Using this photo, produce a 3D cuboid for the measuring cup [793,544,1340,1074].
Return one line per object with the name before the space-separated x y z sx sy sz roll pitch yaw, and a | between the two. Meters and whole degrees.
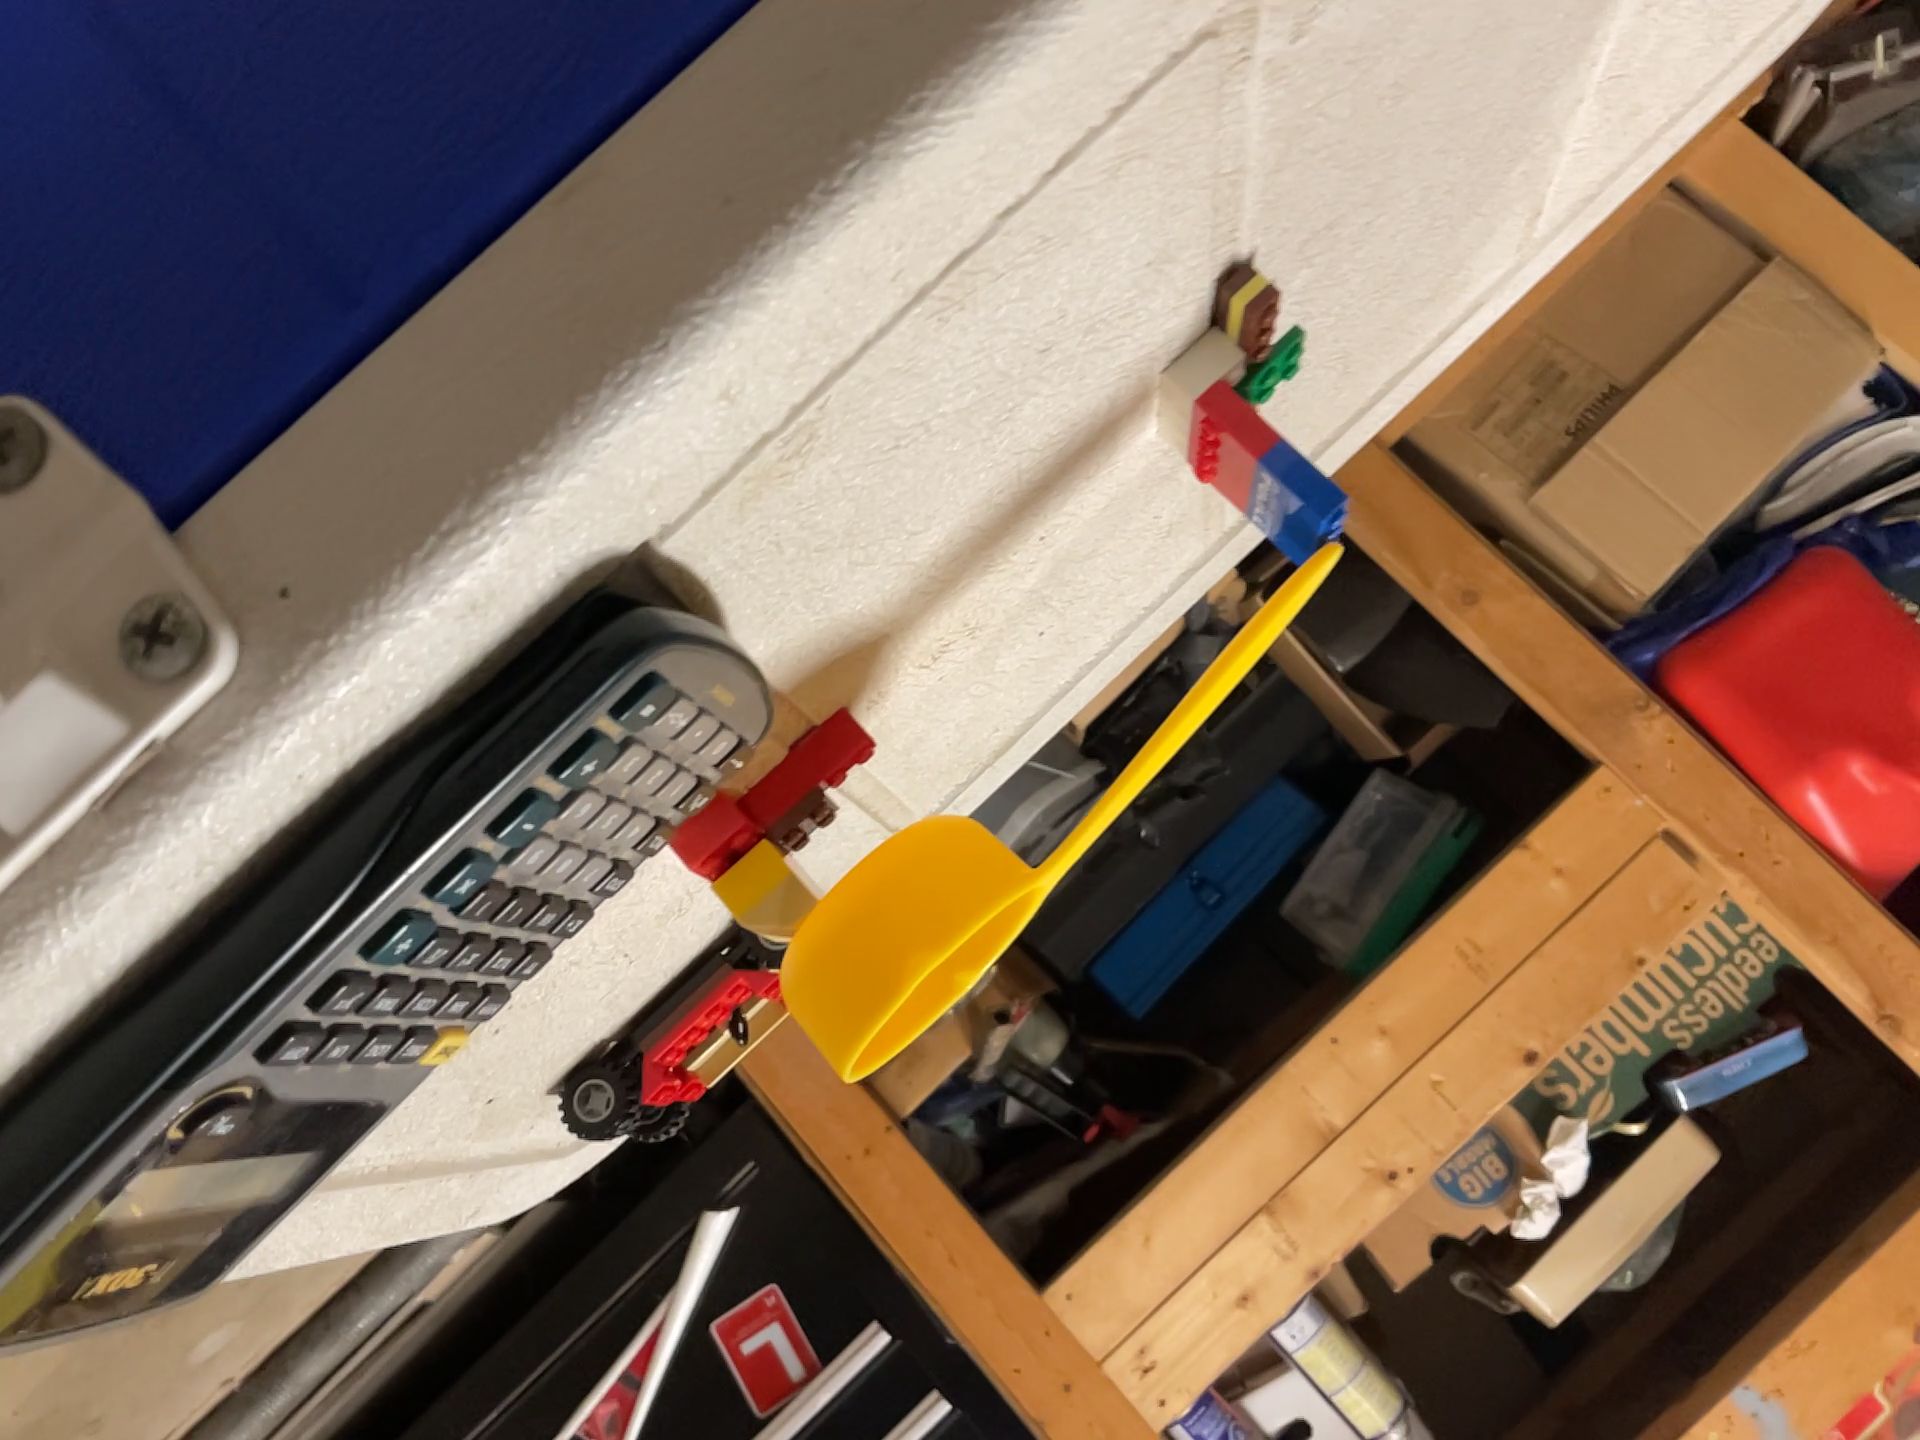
measuring cup | 0.022 0.012 0.353 0.156 0.029 0.062 -47 166 -3
